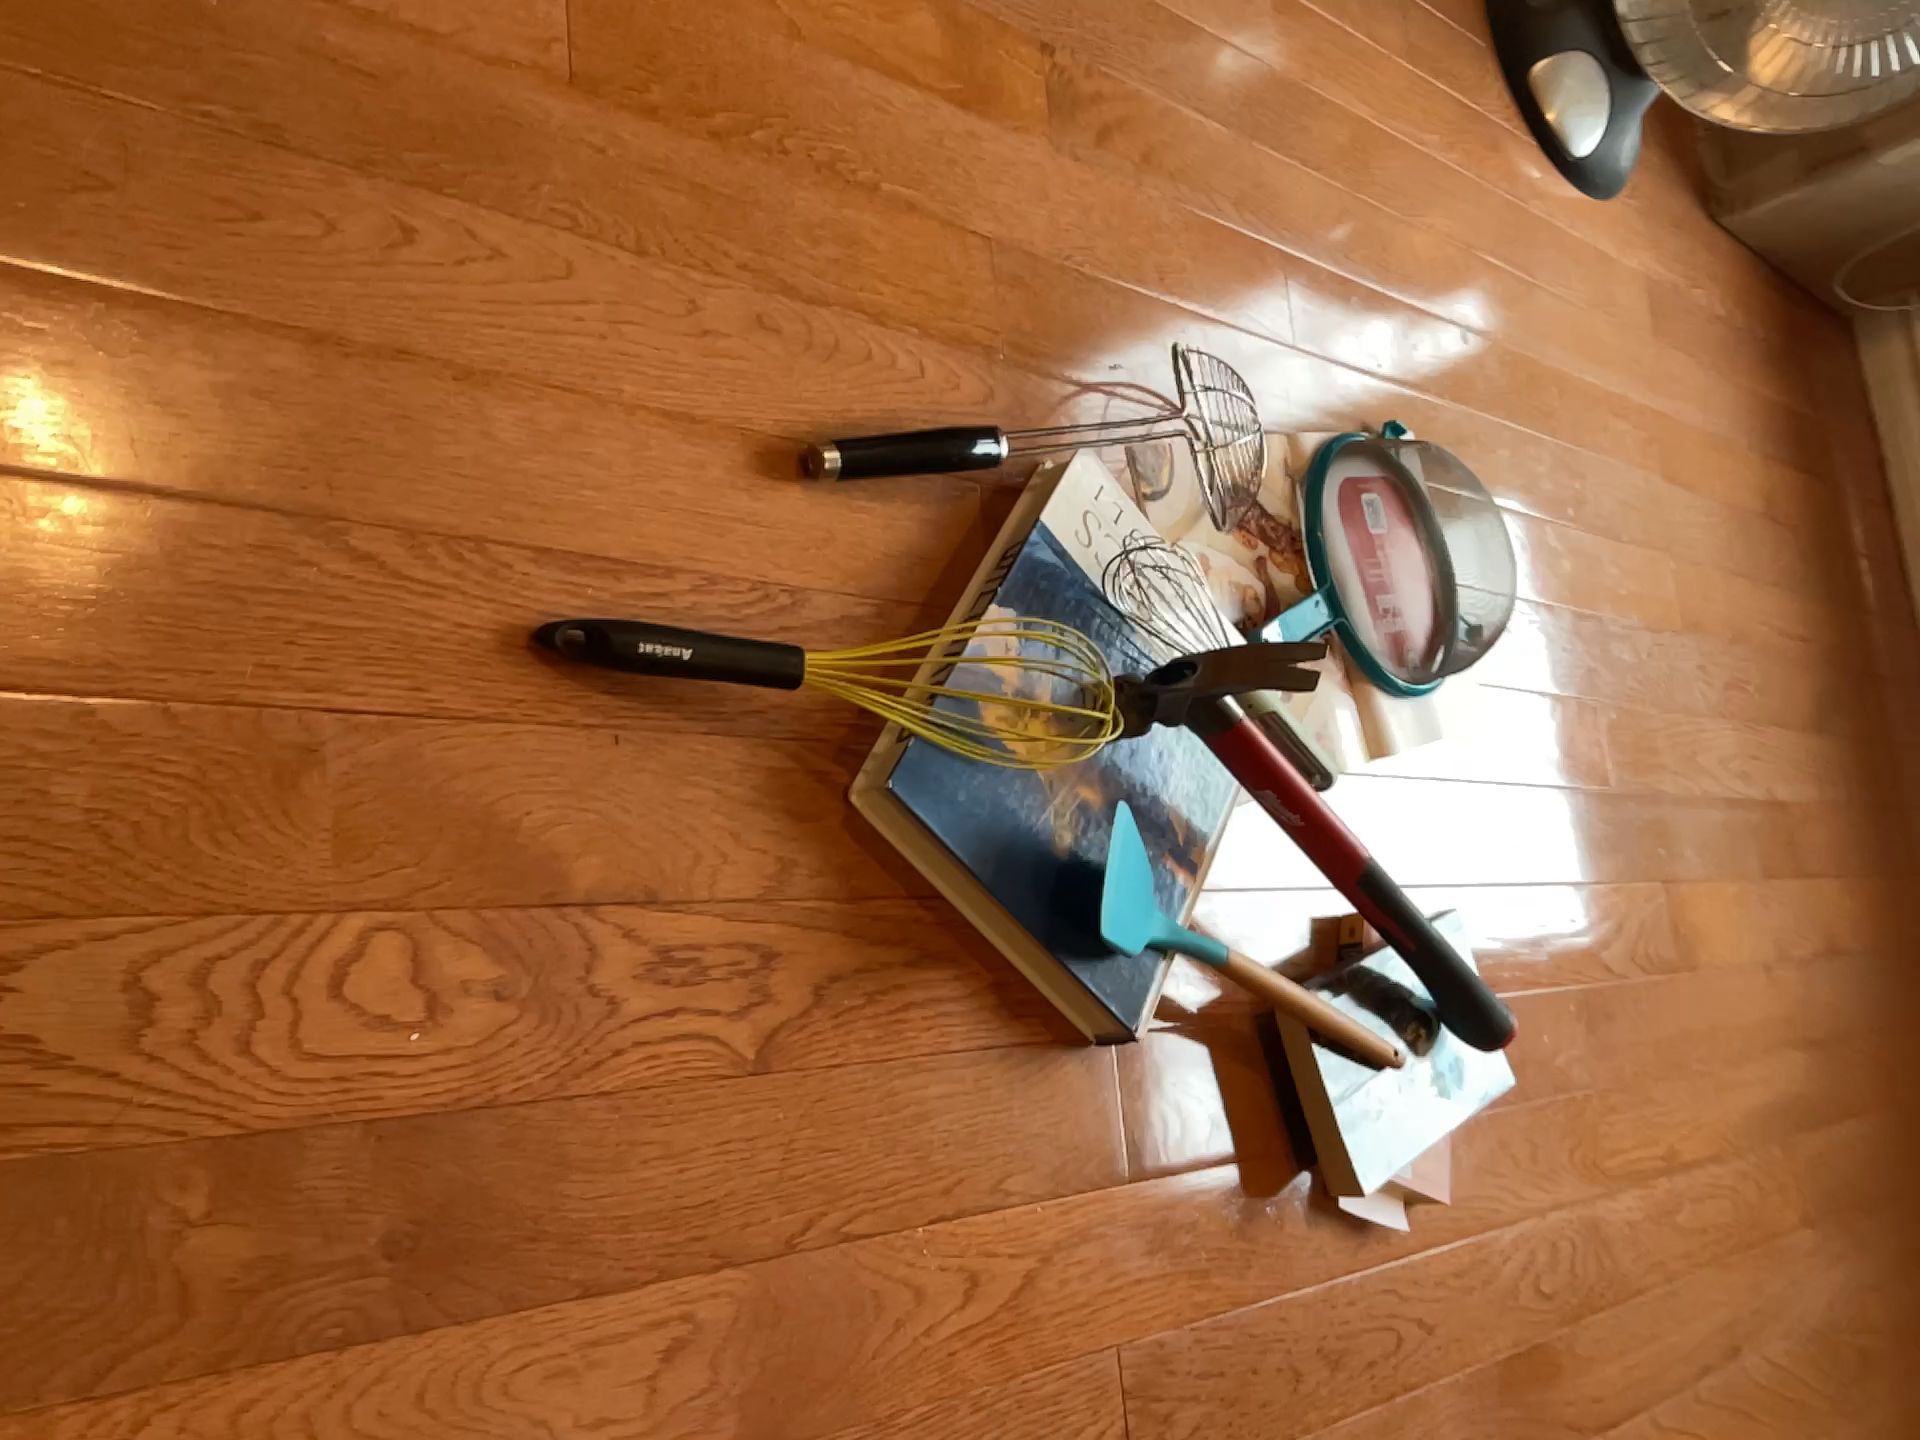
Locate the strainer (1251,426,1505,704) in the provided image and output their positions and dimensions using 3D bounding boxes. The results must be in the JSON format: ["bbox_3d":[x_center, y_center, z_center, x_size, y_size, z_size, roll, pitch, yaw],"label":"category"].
[{"bbox_3d":[0.314,-0.104,1.142,0.341,0.095,0.211,-30,100,-51],"label":"strainer"}]

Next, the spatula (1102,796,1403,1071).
[{"bbox_3d":[0.176,0.148,0.931,0.317,0.044,0.082,32,56,-33],"label":"spatula"}]

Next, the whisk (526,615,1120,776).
[{"bbox_3d":[-0.056,-0.022,0.779,0.311,0.067,0.080,7,88,-28],"label":"whisk"}]

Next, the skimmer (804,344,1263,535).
[{"bbox_3d":[0.053,-0.162,0.969,0.363,0.090,0.127,-12,89,-34],"label":"skimmer"}]

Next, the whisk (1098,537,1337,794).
[{"bbox_3d":[0.165,-0.027,0.978,0.246,0.057,0.059,43,21,-32],"label":"whisk"}]

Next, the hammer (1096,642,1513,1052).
[{"bbox_3d":[0.248,0.090,0.963,0.386,0.143,0.038,44,55,-29],"label":"hammer"}]
